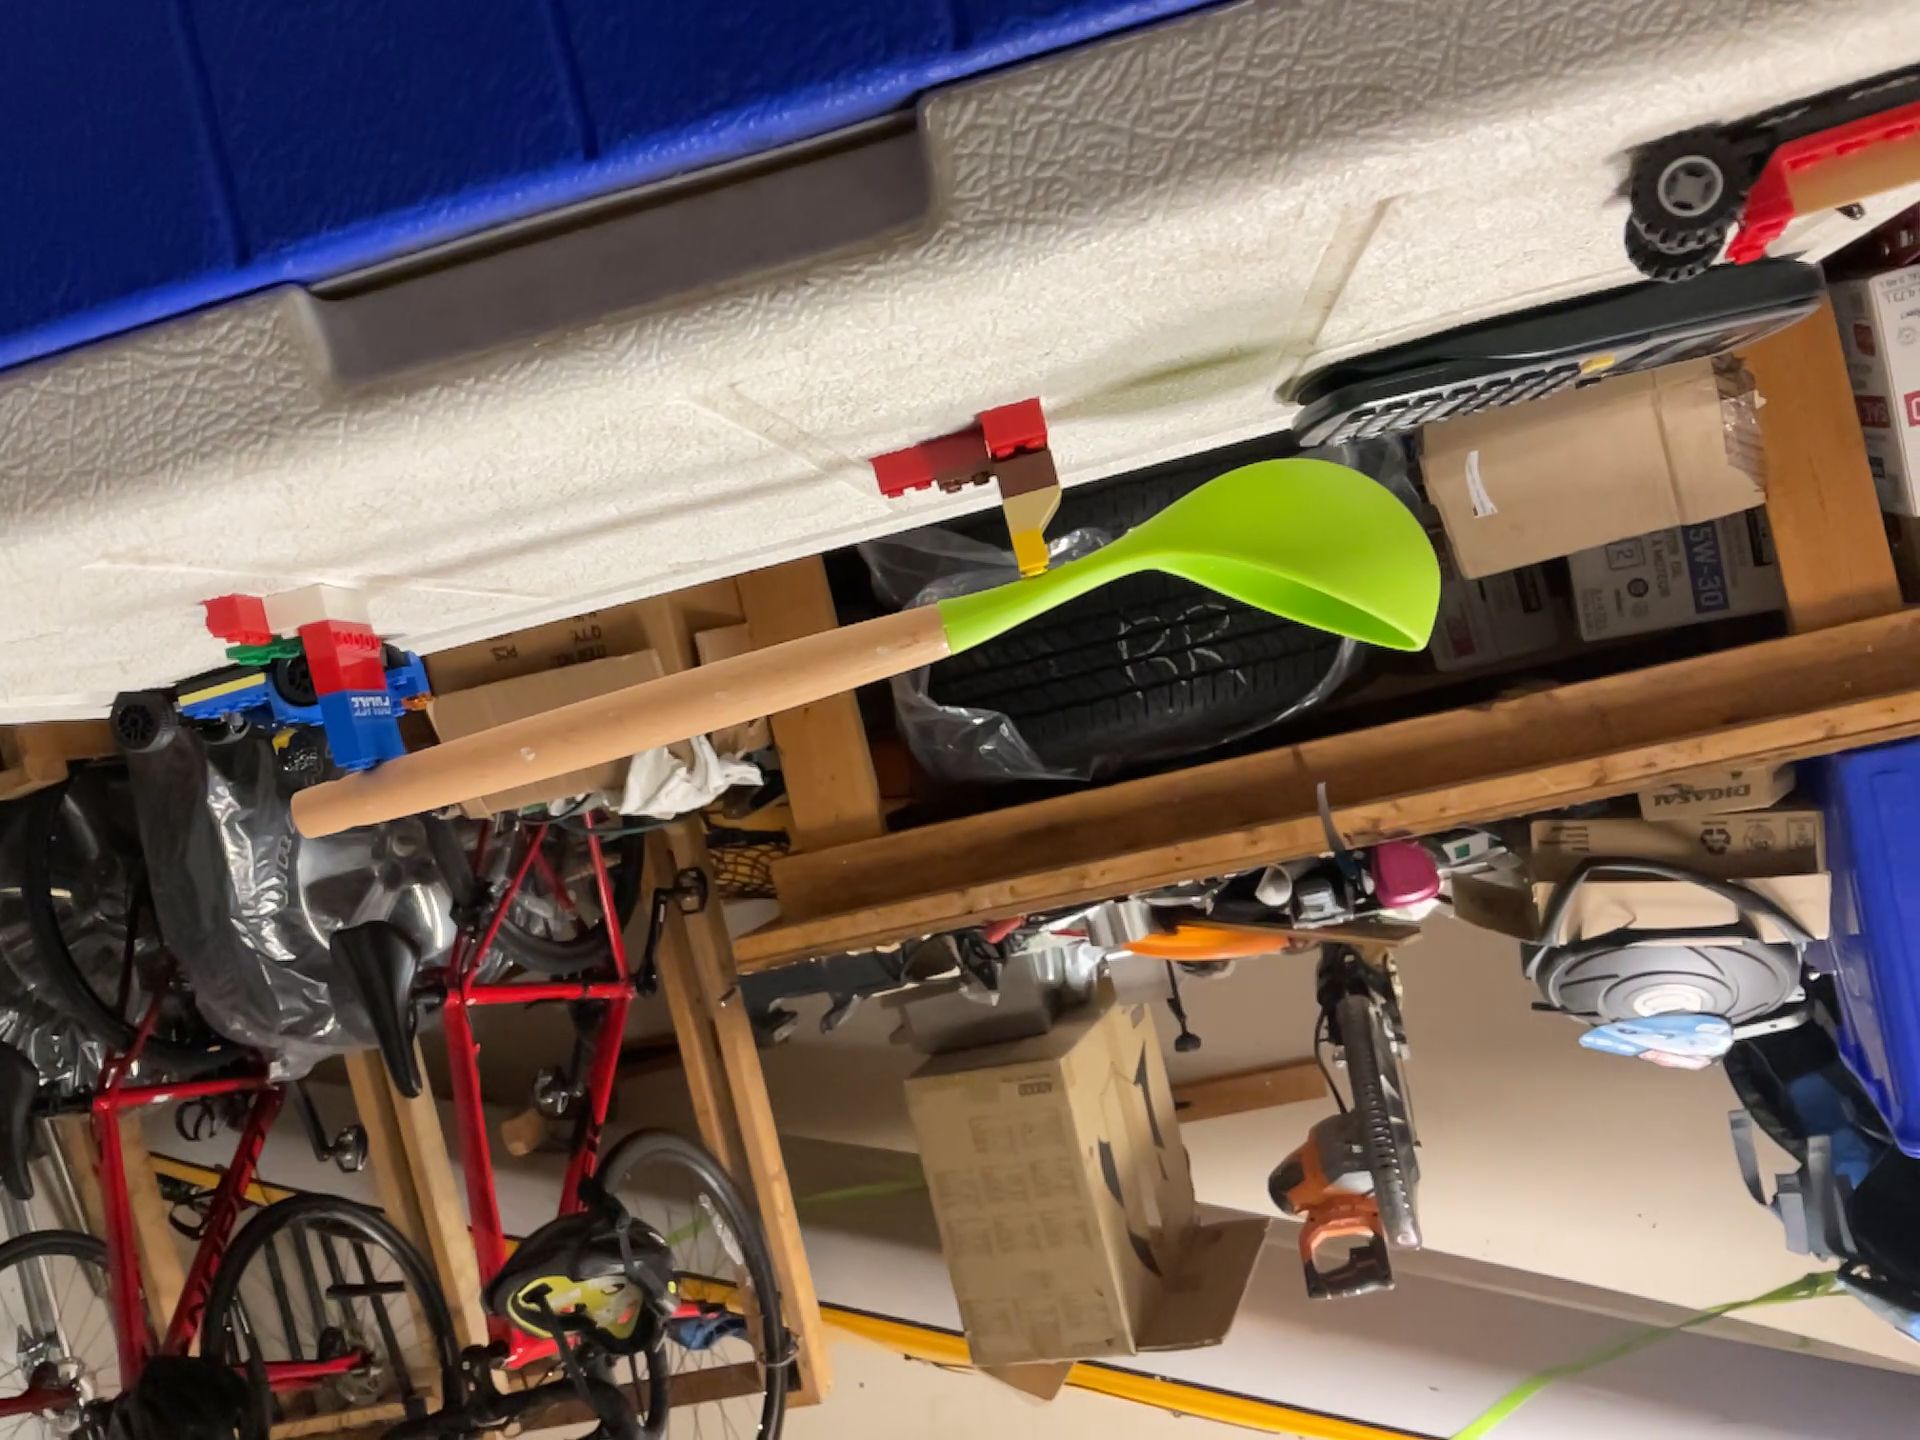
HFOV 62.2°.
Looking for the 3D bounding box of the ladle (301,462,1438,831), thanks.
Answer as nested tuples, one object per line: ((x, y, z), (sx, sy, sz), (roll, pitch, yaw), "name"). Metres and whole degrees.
((-0.025, -0.007, 0.446), (0.320, 0.062, 0.078), (-16, -179, 0), "ladle")
